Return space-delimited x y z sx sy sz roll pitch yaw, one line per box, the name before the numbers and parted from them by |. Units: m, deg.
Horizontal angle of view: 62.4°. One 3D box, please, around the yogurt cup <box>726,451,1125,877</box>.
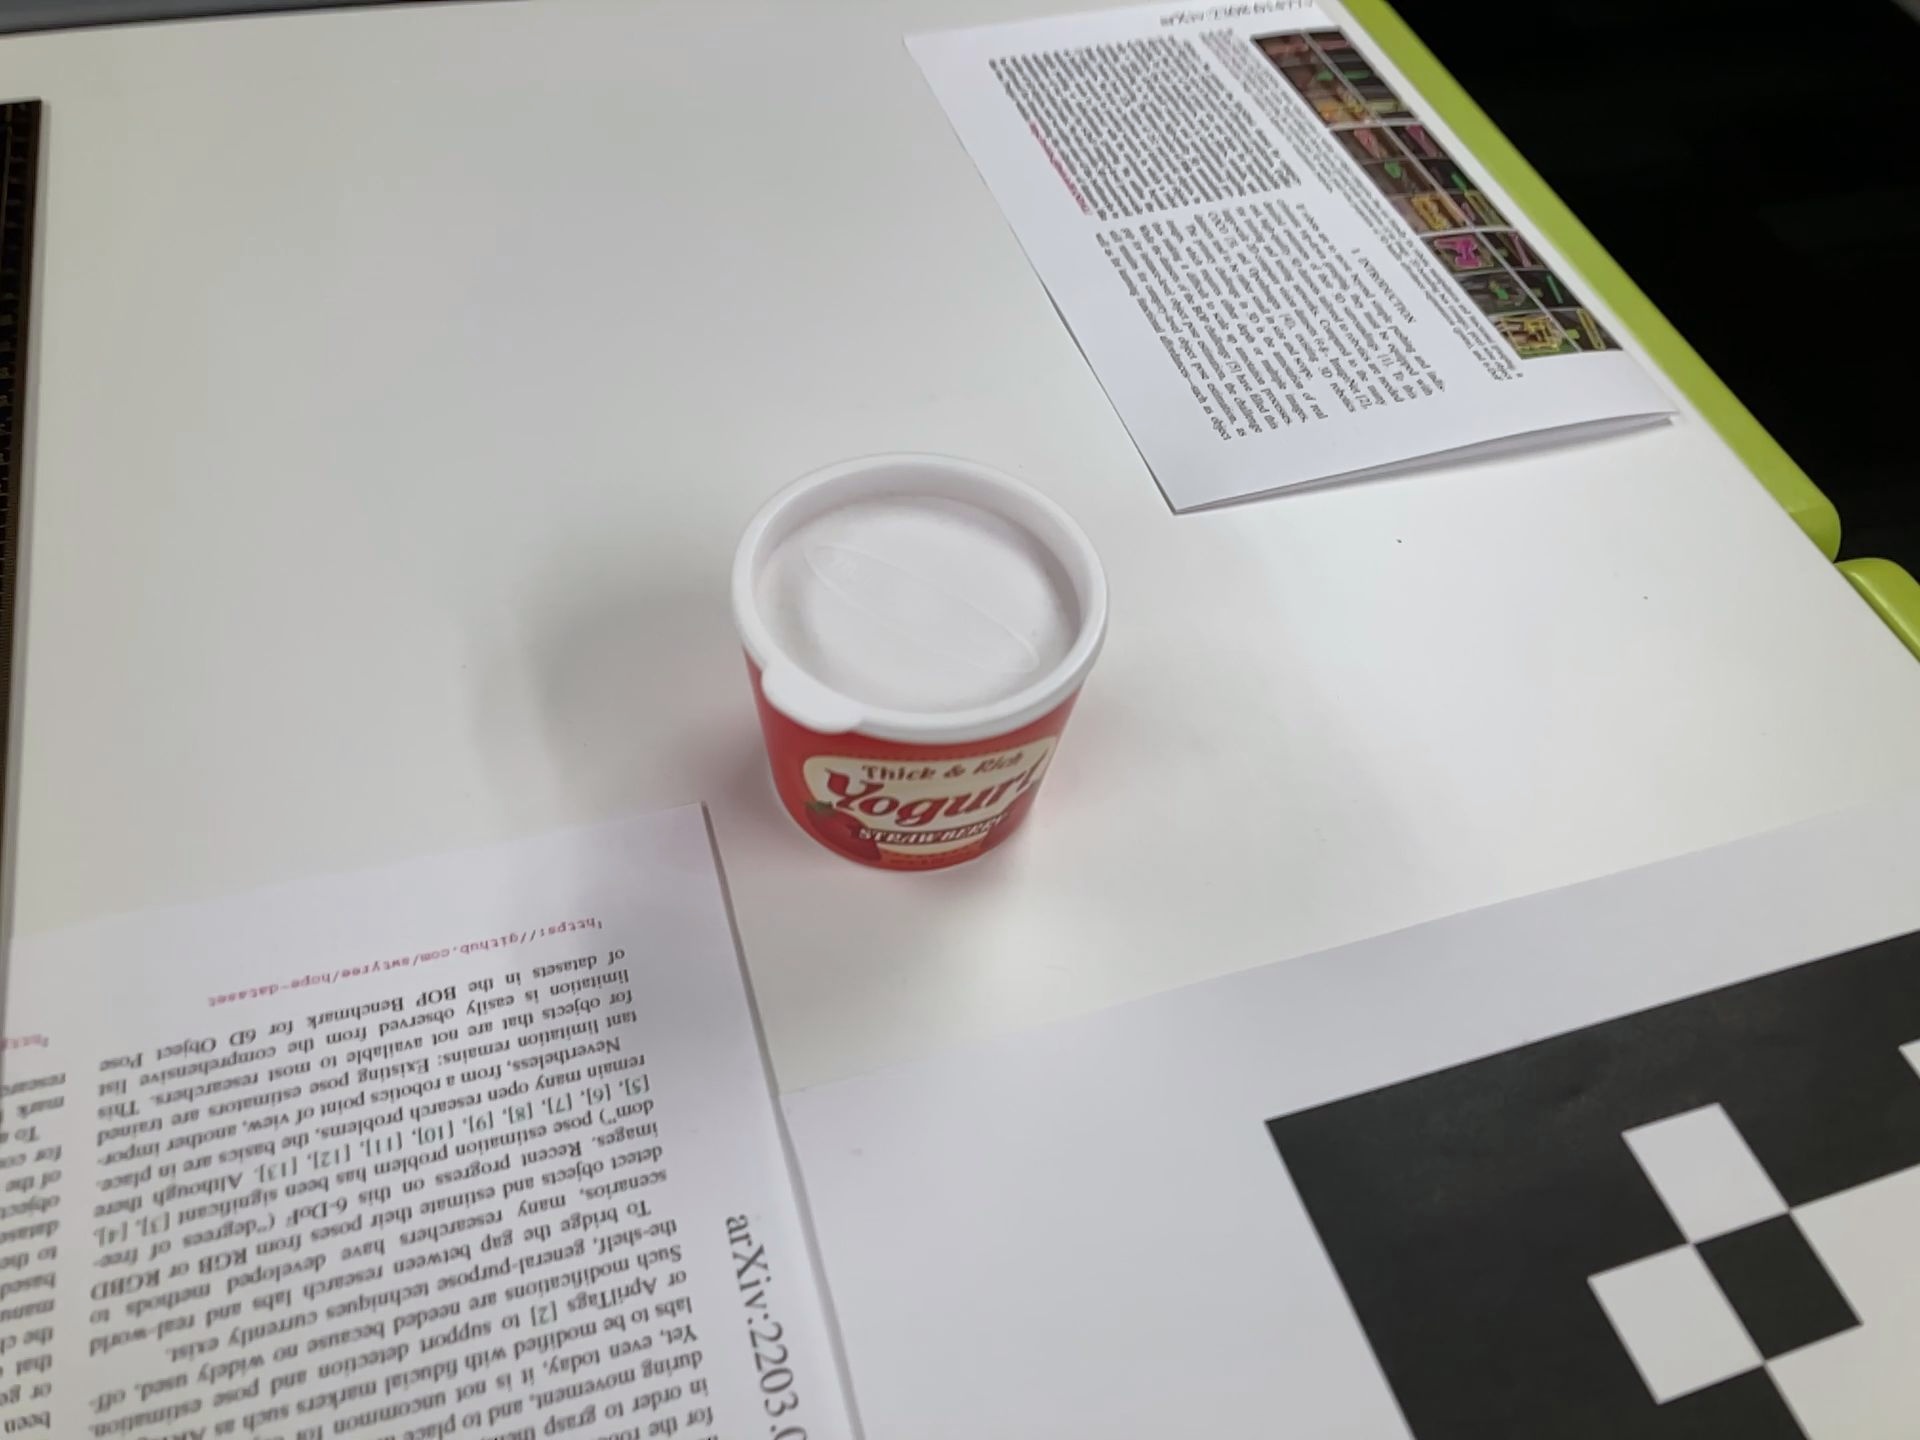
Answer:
yogurt cup | -0.009 -0.008 0.294 0.072 0.054 0.072 3 50 -4
